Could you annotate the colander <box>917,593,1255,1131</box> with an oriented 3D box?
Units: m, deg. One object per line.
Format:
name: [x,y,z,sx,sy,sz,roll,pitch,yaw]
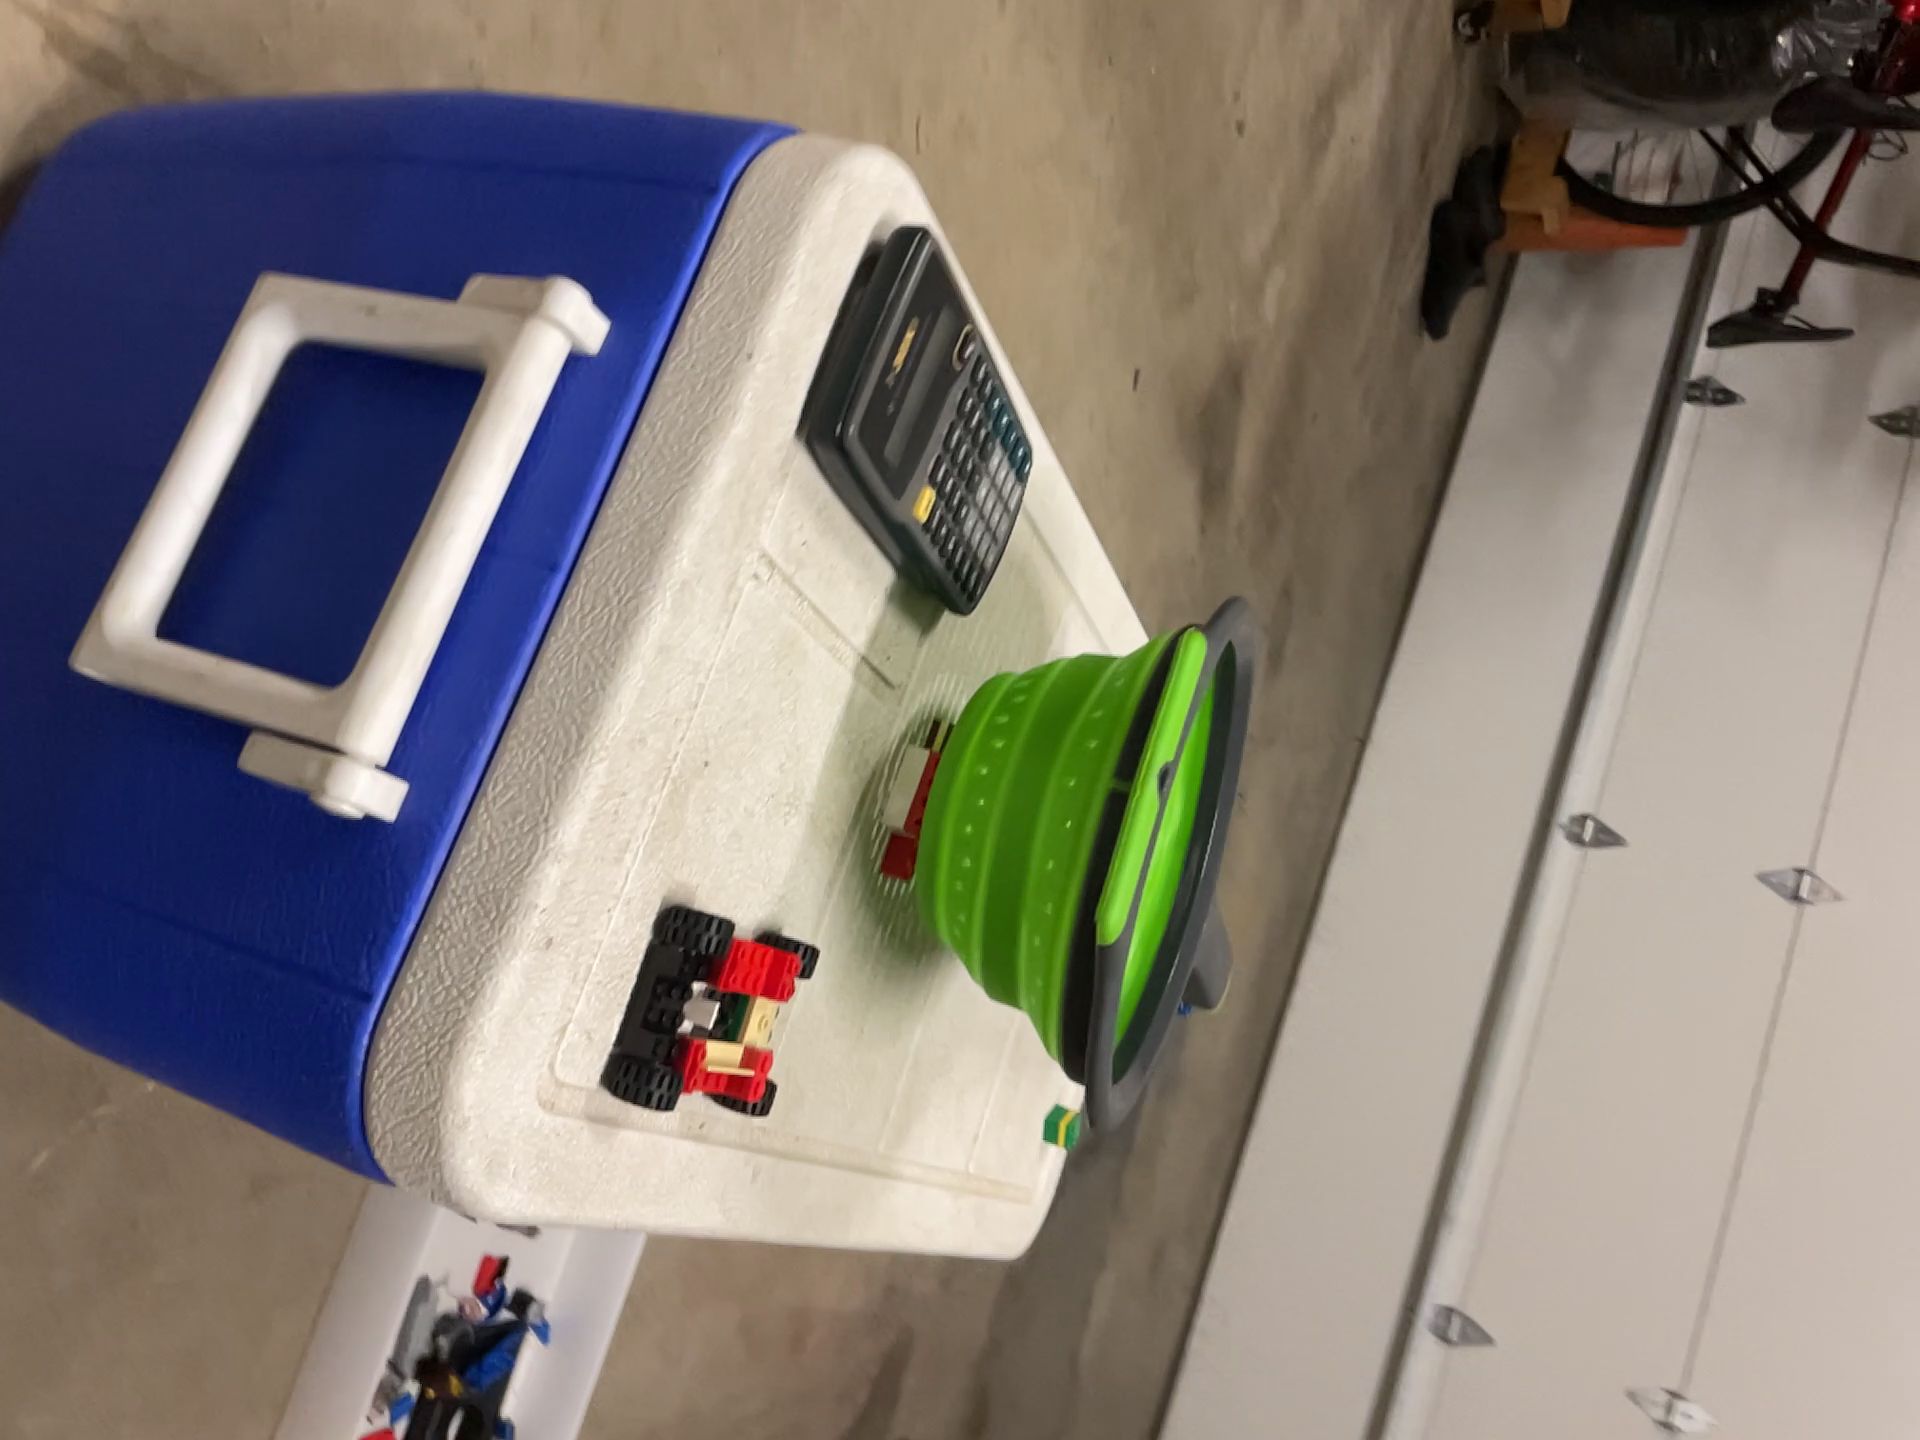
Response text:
colander: [0.060,0.071,0.686,0.396,0.094,0.204,58,47,-67]
